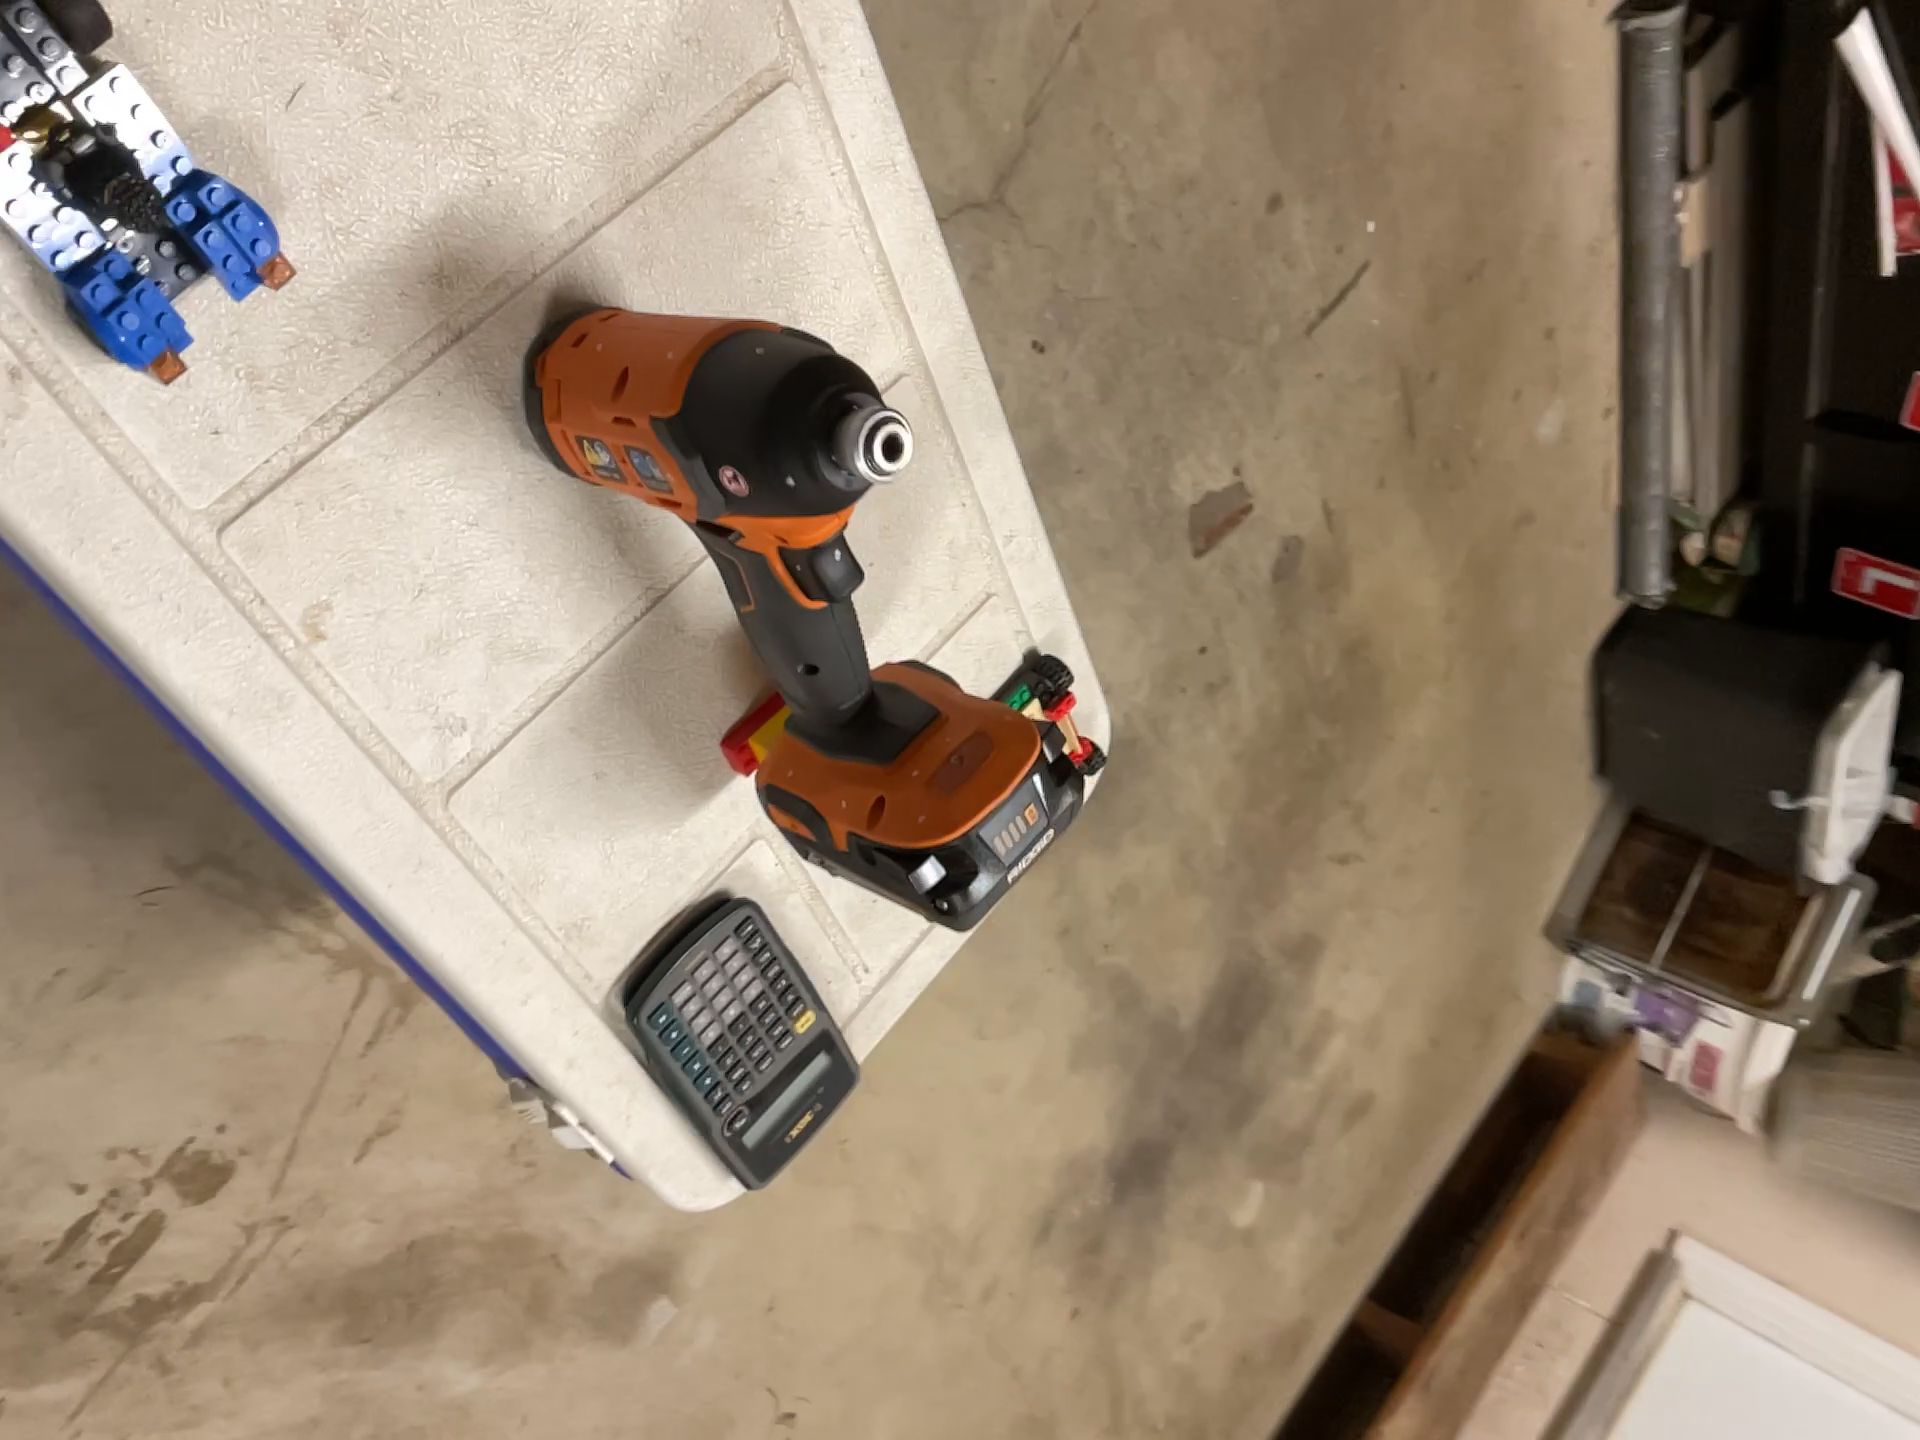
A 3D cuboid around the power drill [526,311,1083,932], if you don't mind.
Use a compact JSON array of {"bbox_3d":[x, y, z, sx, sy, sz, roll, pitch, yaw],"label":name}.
[{"bbox_3d":[-0.042,-0.034,0.547,0.084,0.164,0.226,-45,127,-23],"label":"power drill"}]
